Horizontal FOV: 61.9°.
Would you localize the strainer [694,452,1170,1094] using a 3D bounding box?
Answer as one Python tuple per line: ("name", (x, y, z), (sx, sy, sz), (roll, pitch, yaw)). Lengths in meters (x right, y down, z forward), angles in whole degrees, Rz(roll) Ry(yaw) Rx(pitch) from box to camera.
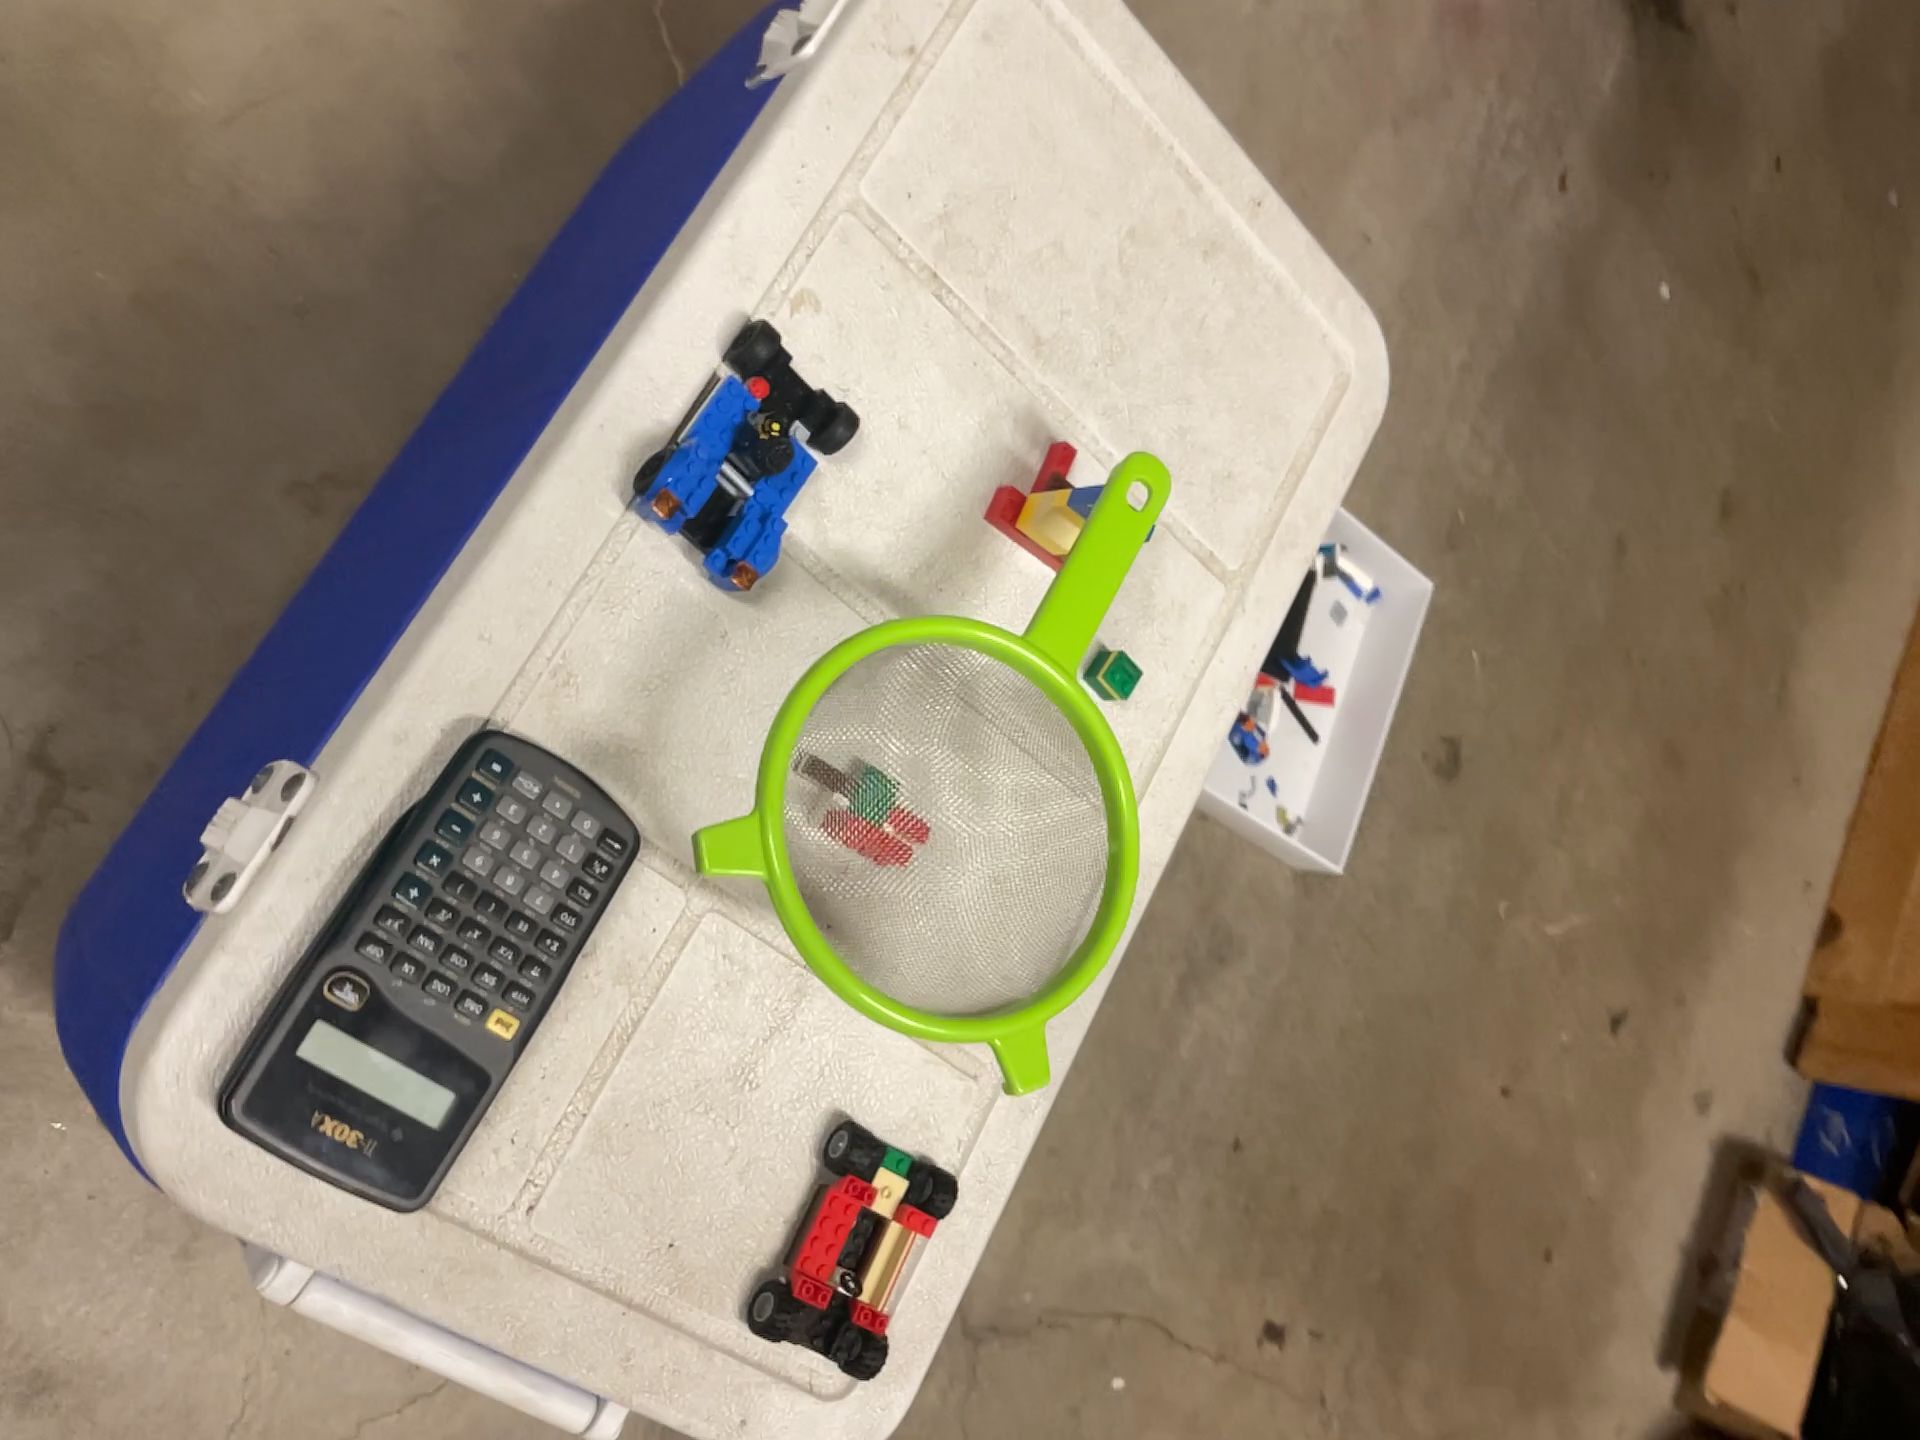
("strainer", (0.010, 0.001, 0.607), (0.151, 0.069, 0.257), (38, 61, -16))
